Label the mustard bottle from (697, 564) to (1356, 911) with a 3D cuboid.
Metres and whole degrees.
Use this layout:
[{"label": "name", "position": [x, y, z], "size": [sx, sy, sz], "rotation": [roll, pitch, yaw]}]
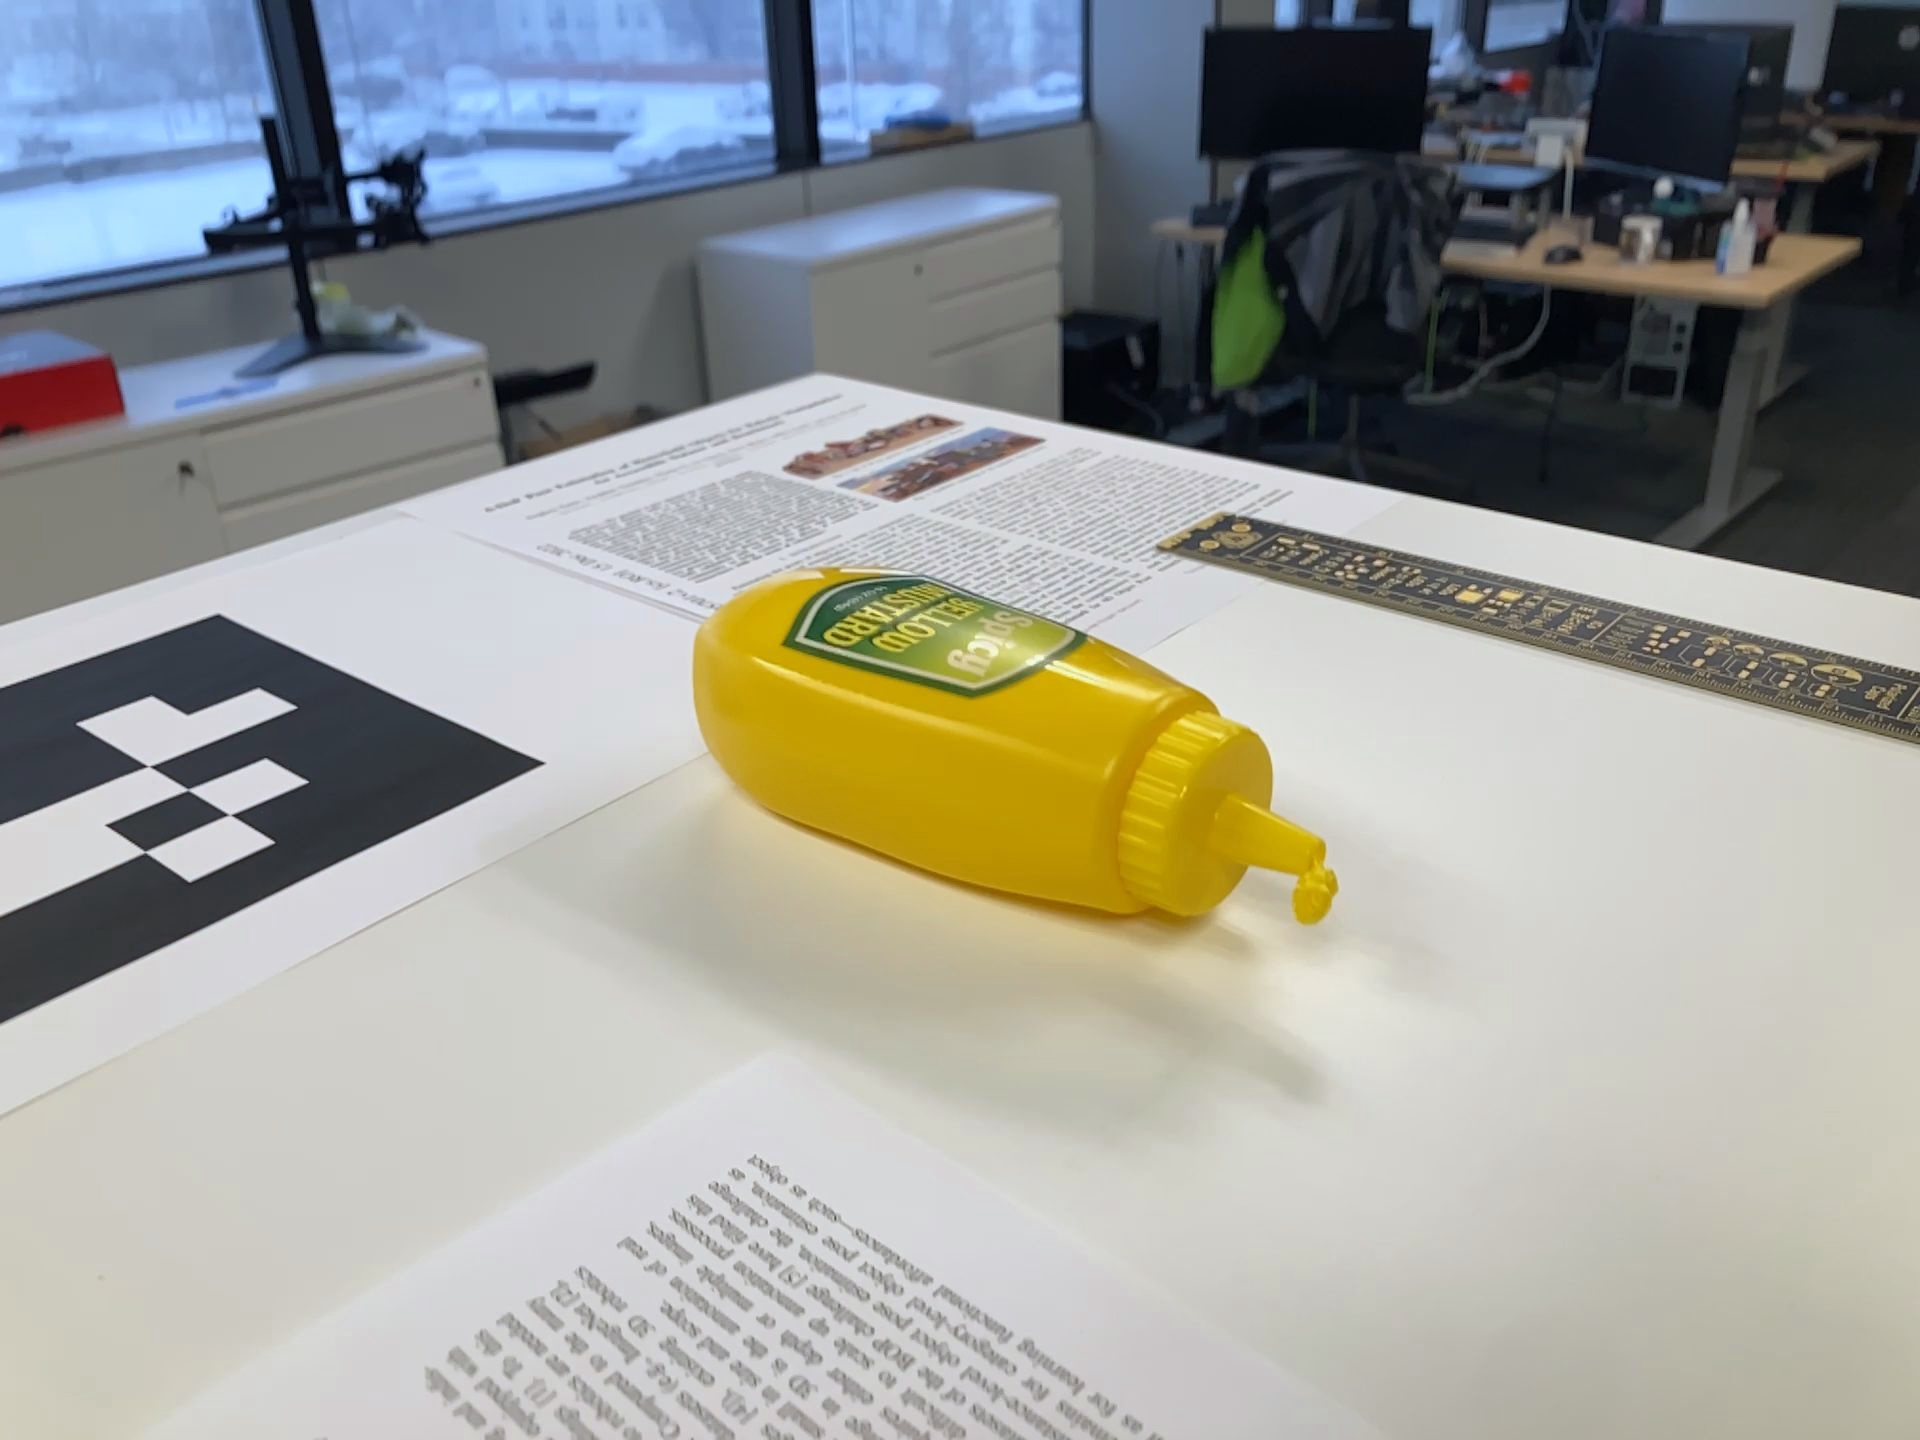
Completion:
[{"label": "mustard bottle", "position": [0.014, 0.005, 0.343], "size": [0.160, 0.049, 0.065], "rotation": [19, 35, 35]}]
